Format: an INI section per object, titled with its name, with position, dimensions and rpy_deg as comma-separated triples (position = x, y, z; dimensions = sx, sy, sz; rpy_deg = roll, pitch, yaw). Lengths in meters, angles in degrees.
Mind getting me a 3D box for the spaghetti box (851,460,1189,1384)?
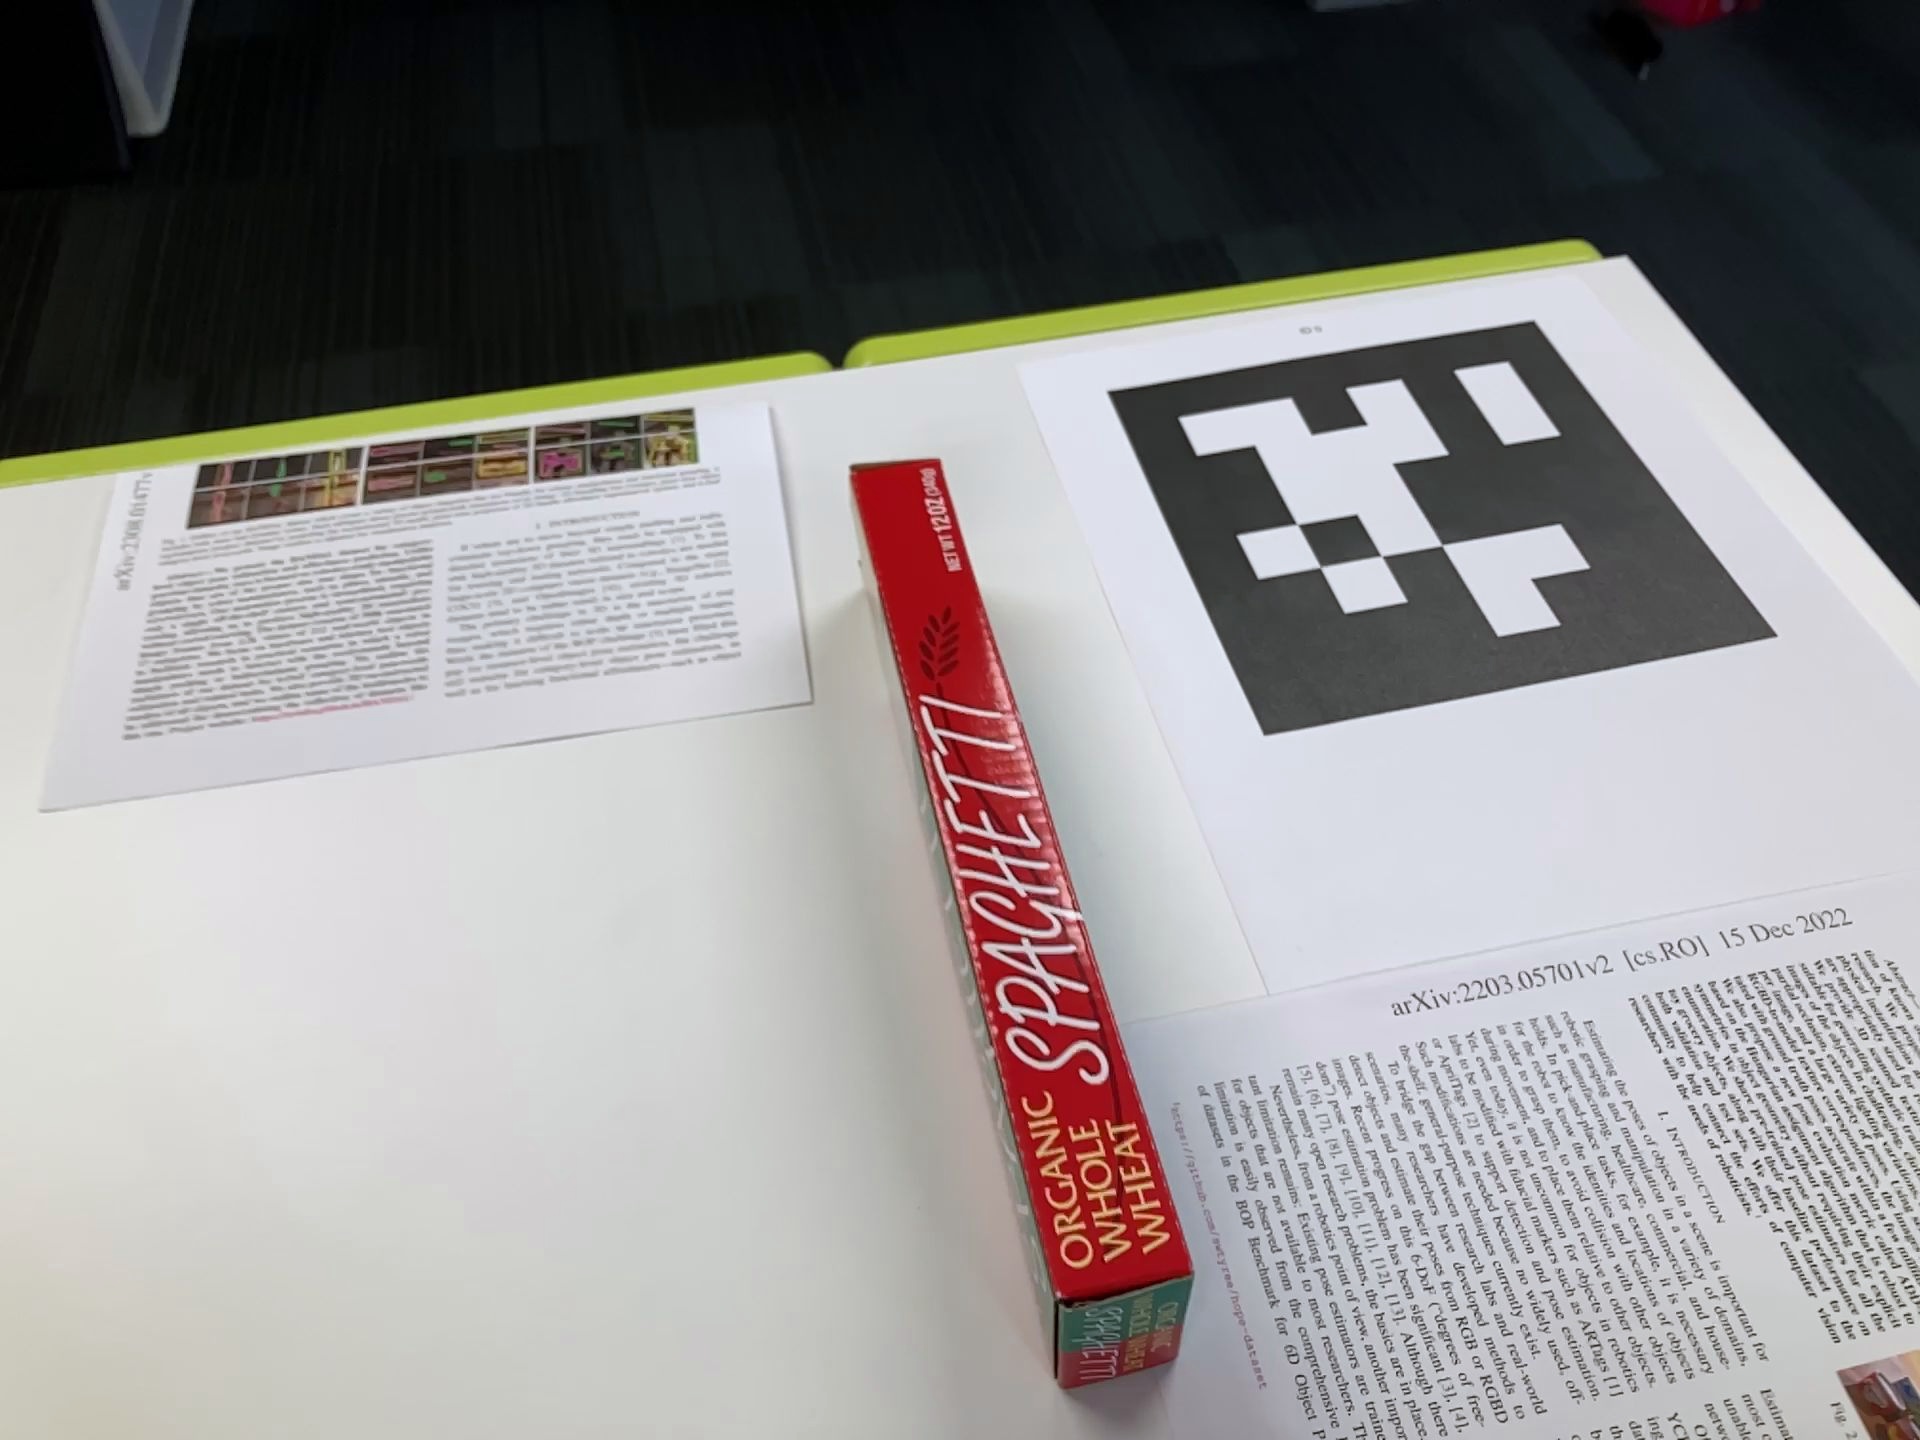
[spaghetti box]
position = 0.008, 0.034, 0.402
dimensions = 0.028, 0.050, 0.250
rpy_deg = -11, 51, -5
